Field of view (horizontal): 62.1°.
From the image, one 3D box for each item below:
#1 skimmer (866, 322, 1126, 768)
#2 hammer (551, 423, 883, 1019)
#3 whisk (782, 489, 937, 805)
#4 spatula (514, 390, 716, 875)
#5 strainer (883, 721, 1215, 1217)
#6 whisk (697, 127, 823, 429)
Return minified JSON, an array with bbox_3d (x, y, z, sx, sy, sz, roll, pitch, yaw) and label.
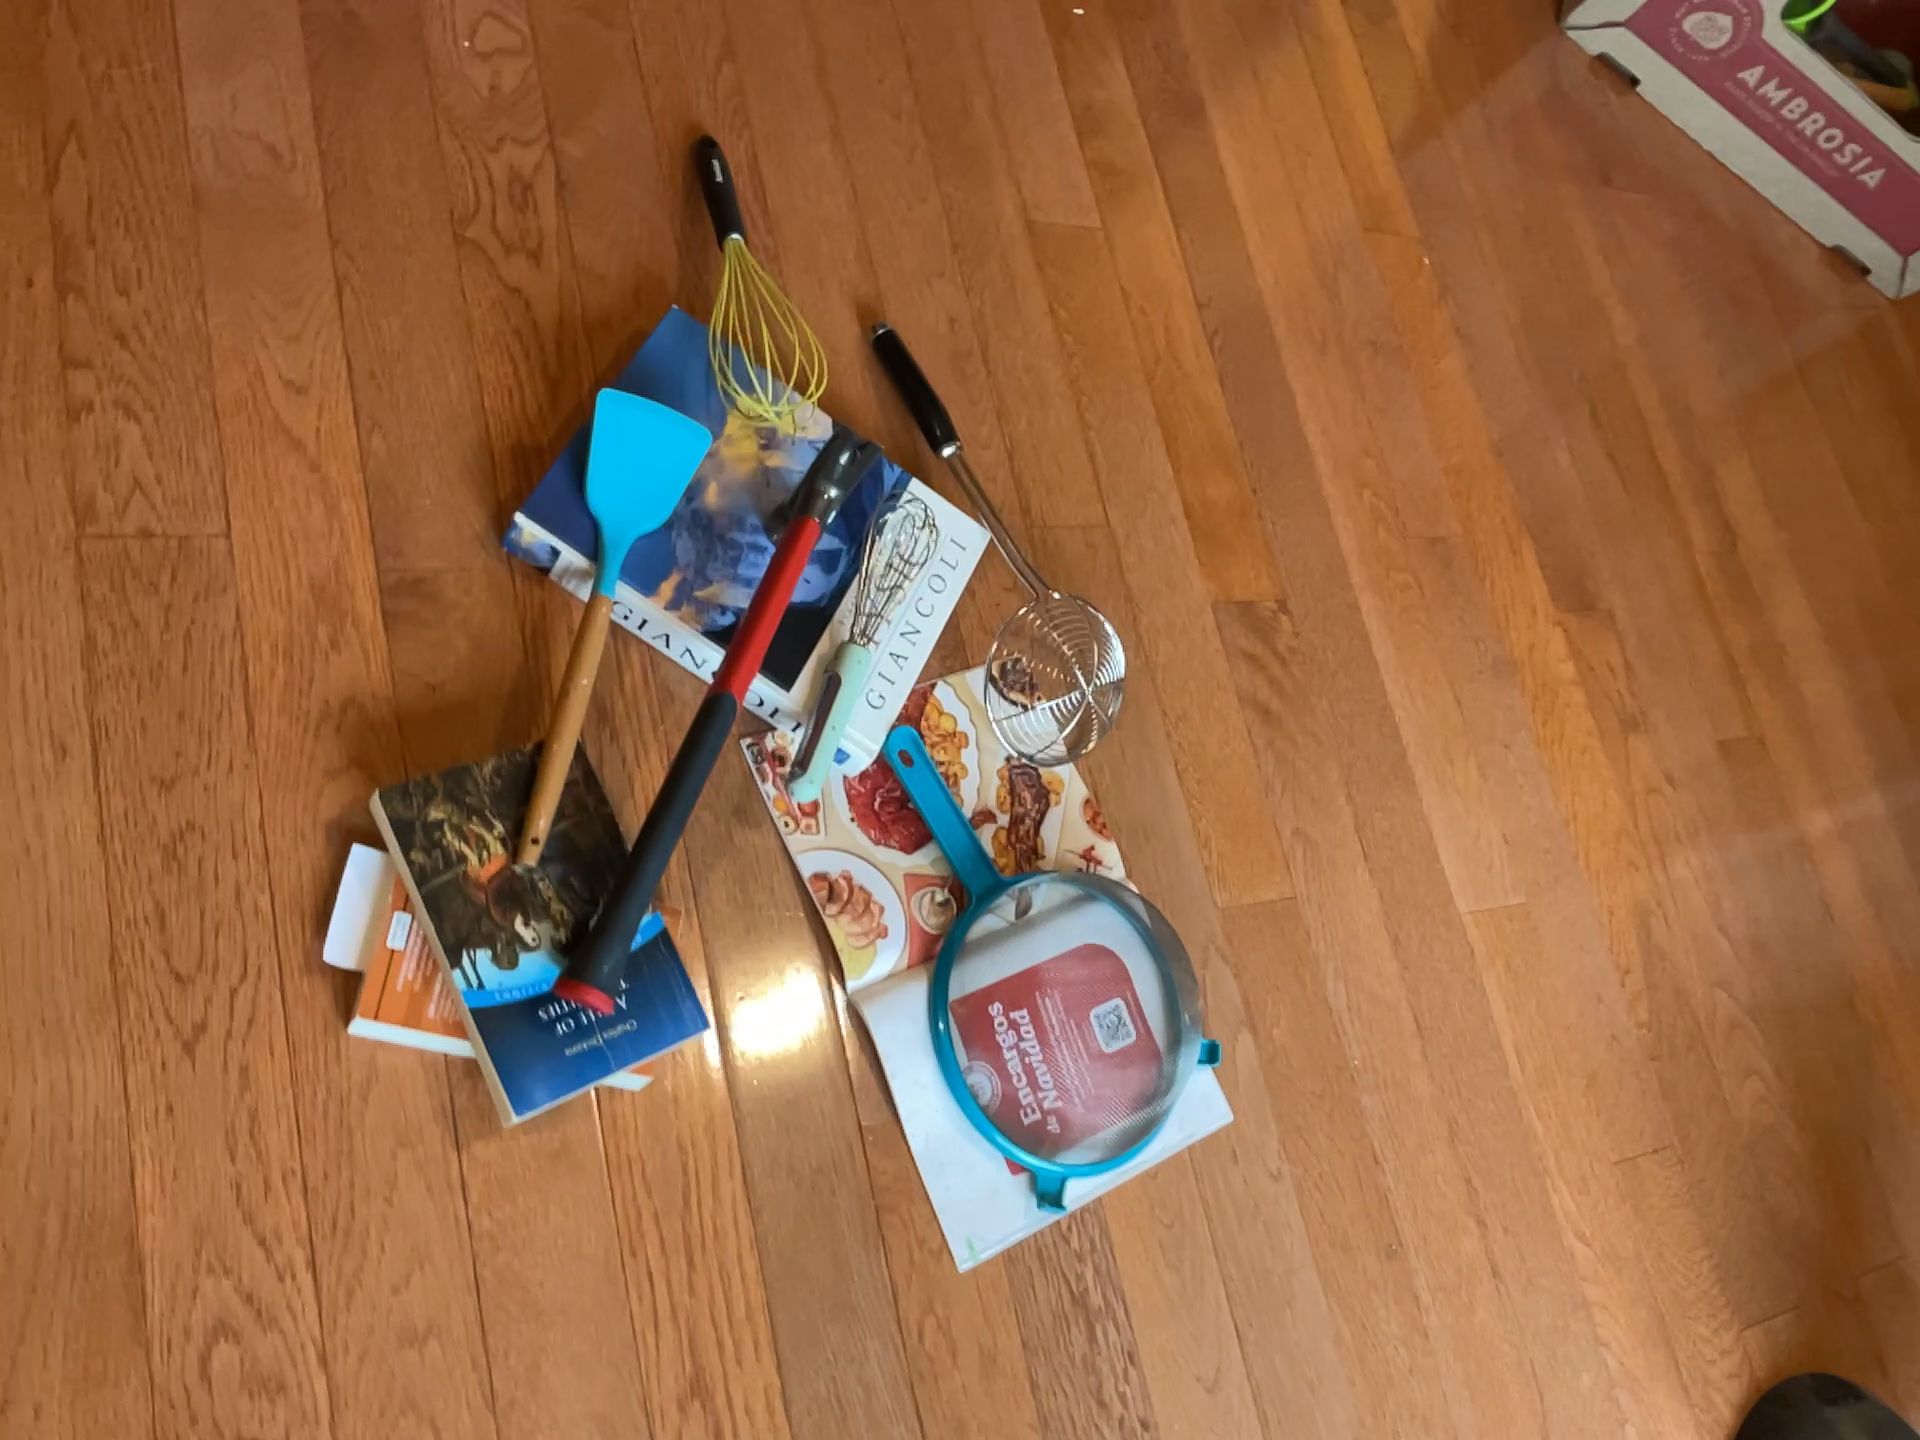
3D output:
[{"bbox_3d":[0.010,-0.138,1.207,0.127,0.090,0.363,-18,69,-32],"label":"skimmer"},{"bbox_3d":[-0.144,-0.006,0.962,0.038,0.143,0.387,28,61,-13],"label":"hammer"},{"bbox_3d":[-0.070,-0.052,1.076,0.059,0.057,0.247,46,54,-44],"label":"whisk"},{"bbox_3d":[-0.226,-0.055,0.984,0.082,0.044,0.318,21,61,-23],"label":"spatula"},{"bbox_3d":[0.057,0.143,1.065,0.211,0.095,0.340,-32,94,-35],"label":"strainer"},{"bbox_3d":[-0.159,-0.326,1.152,0.080,0.067,0.312,-6,58,-16],"label":"whisk"}]
